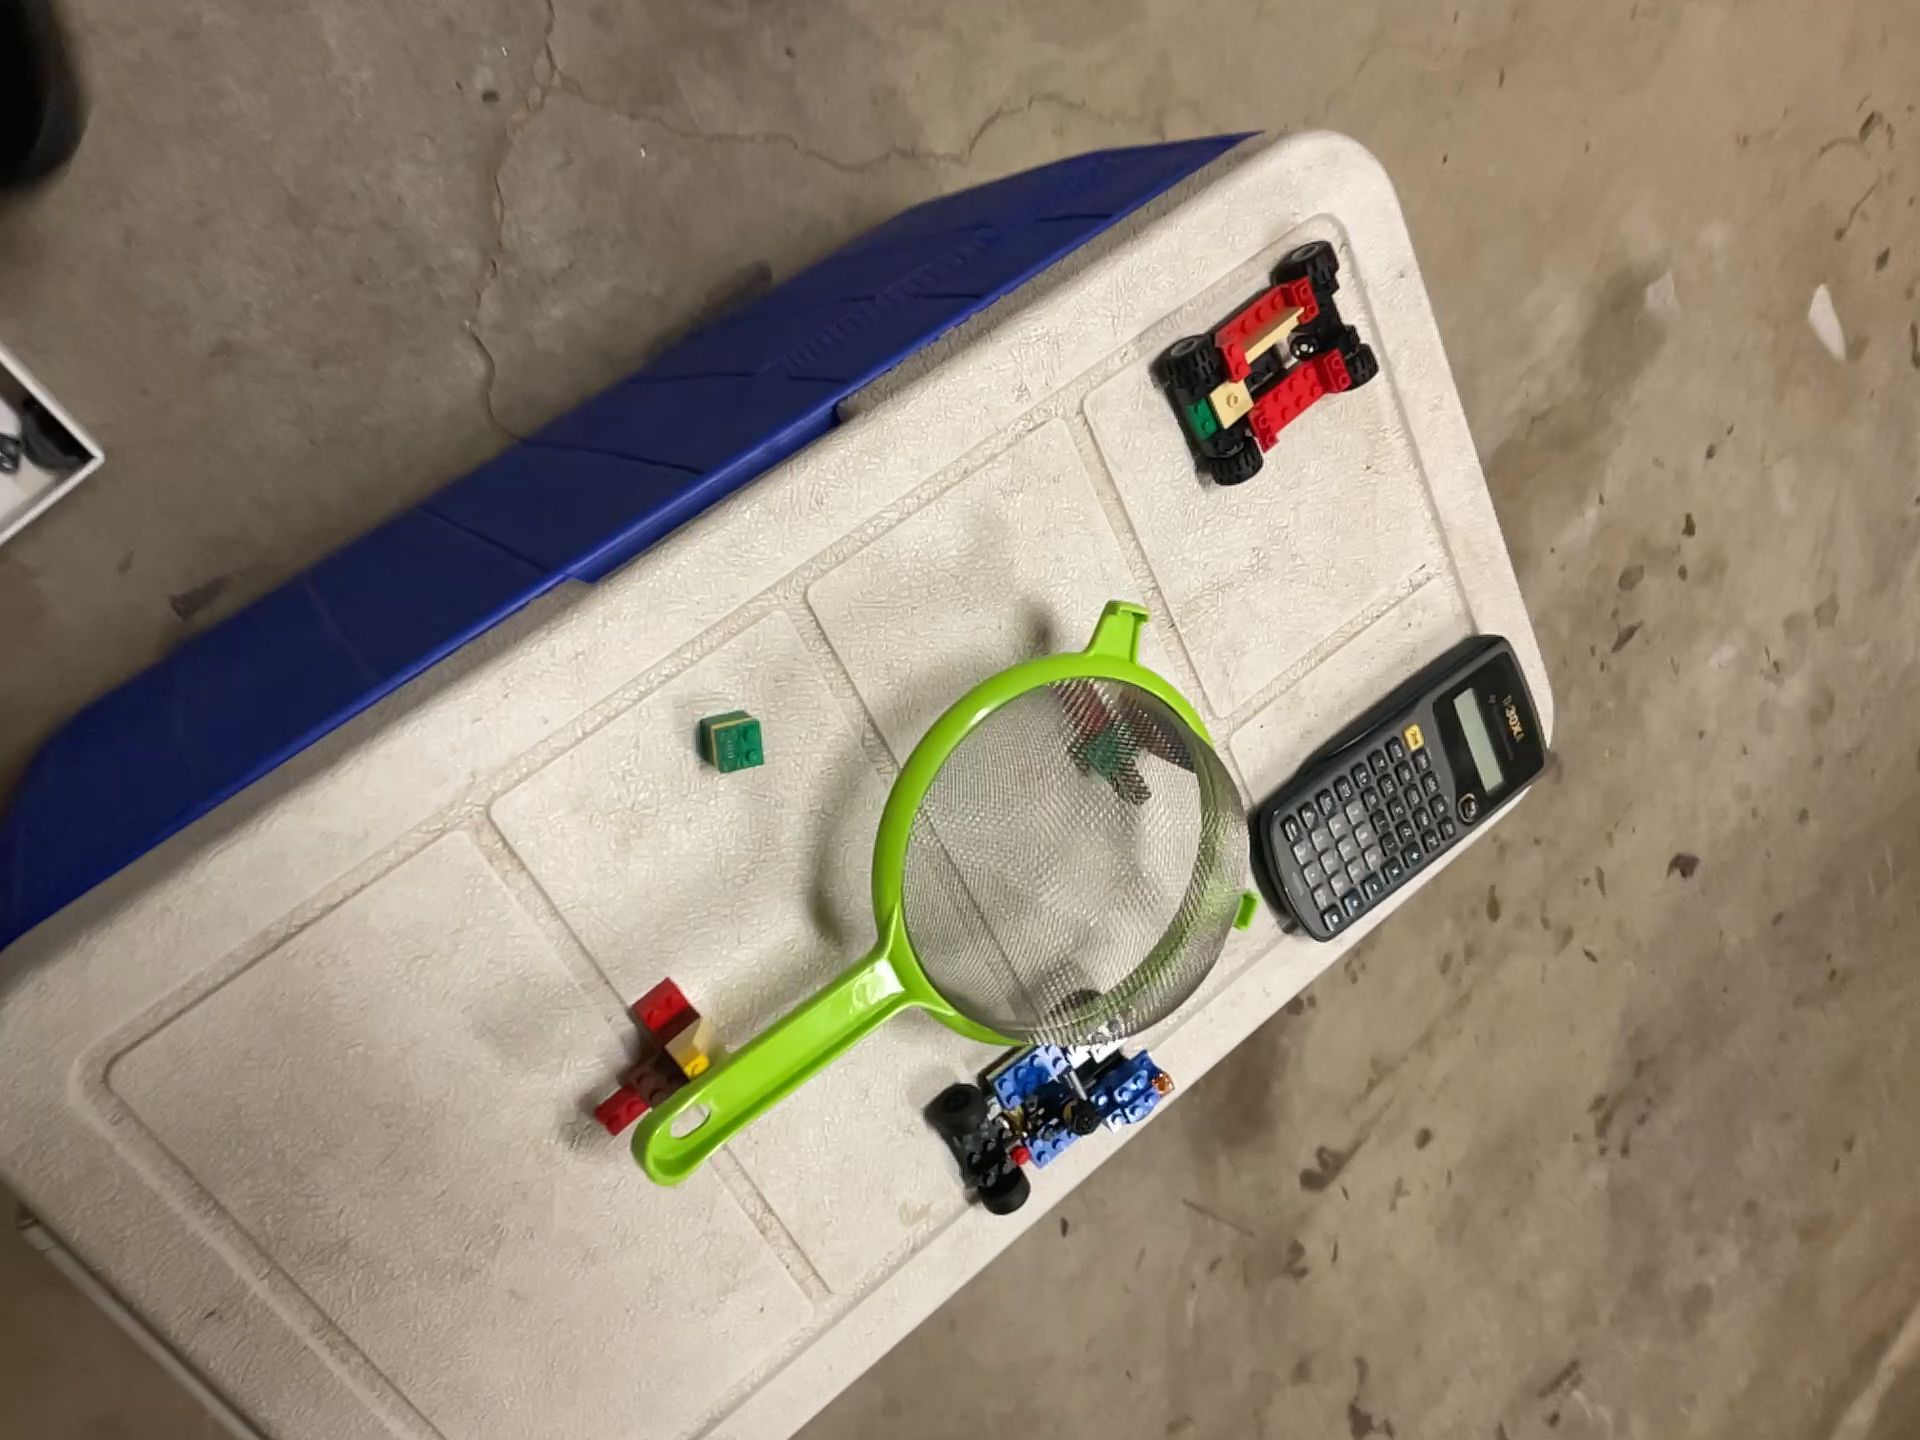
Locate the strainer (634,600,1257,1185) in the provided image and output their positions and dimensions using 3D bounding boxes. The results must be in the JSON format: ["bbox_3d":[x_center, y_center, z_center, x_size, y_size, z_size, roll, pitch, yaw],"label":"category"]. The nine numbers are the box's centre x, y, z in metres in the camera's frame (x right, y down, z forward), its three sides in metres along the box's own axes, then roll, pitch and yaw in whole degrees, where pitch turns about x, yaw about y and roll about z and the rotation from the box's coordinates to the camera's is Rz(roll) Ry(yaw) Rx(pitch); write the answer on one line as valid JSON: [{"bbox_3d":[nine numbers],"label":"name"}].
[{"bbox_3d":[0.008,0.083,0.548,0.256,0.069,0.151,-34,119,-19],"label":"strainer"}]
